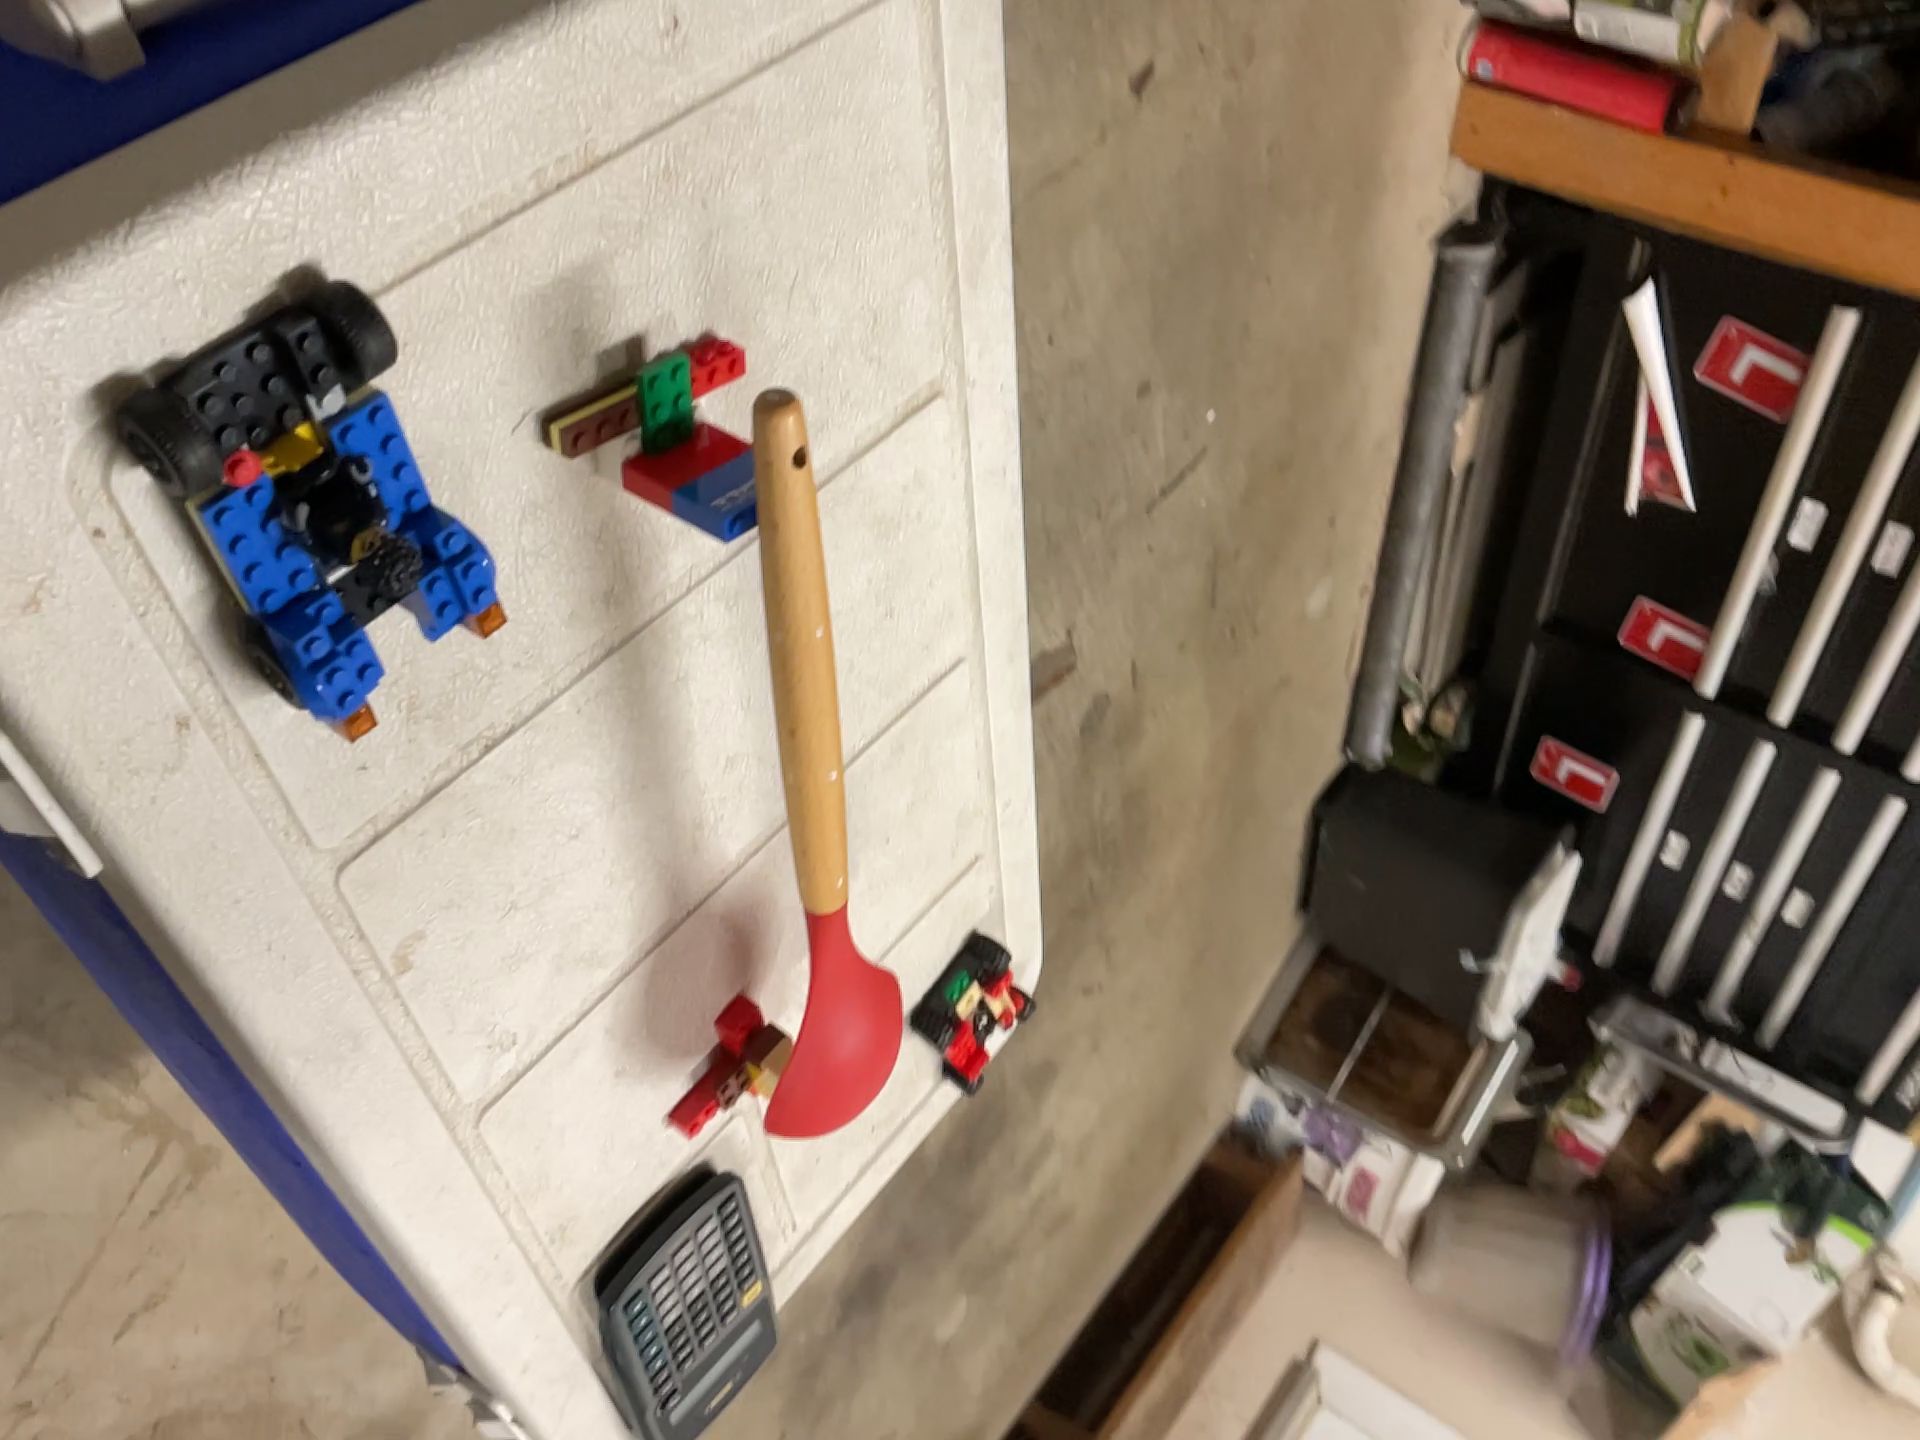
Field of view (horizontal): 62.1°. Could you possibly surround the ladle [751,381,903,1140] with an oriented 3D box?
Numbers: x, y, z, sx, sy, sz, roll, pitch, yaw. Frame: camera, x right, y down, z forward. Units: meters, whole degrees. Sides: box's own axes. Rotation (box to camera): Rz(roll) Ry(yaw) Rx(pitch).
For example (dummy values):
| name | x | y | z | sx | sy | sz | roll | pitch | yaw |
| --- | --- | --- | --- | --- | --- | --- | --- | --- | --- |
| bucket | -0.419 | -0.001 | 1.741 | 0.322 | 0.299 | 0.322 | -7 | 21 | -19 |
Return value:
| name | x | y | z | sx | sy | sz | roll | pitch | yaw |
| --- | --- | --- | --- | --- | --- | --- | --- | --- | --- |
| ladle | -0.044 | 0.036 | 0.491 | 0.069 | 0.031 | 0.315 | -40 | 145 | -35 |
